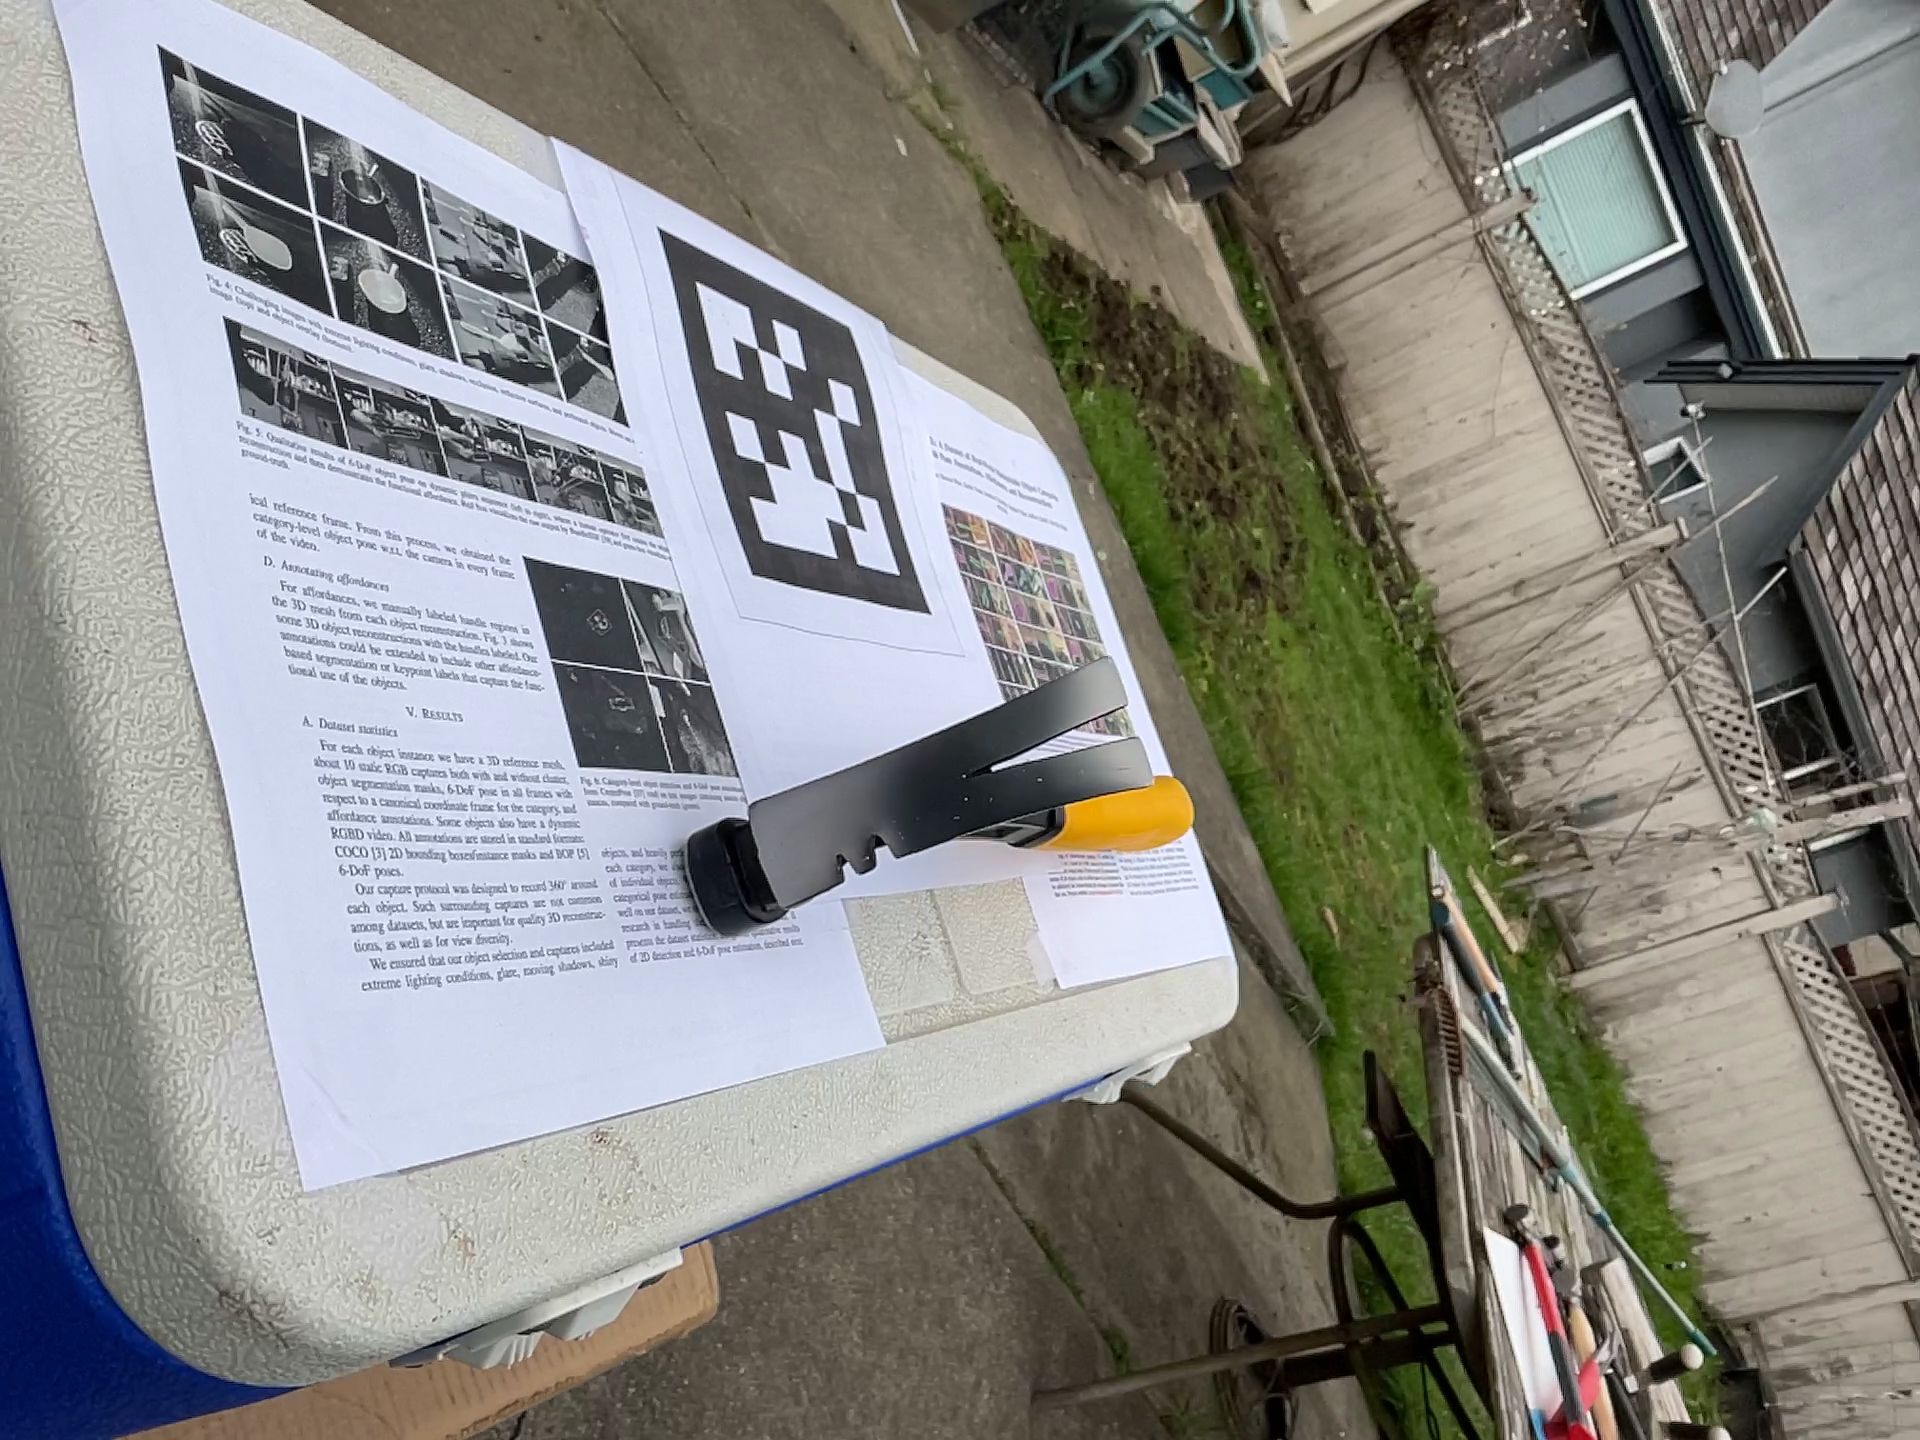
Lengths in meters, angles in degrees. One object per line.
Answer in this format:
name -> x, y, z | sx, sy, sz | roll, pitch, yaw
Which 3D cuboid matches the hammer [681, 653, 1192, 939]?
hammer -> 0.038, 0.030, 0.558 | 0.336, 0.127, 0.034 | 9, 60, -70
